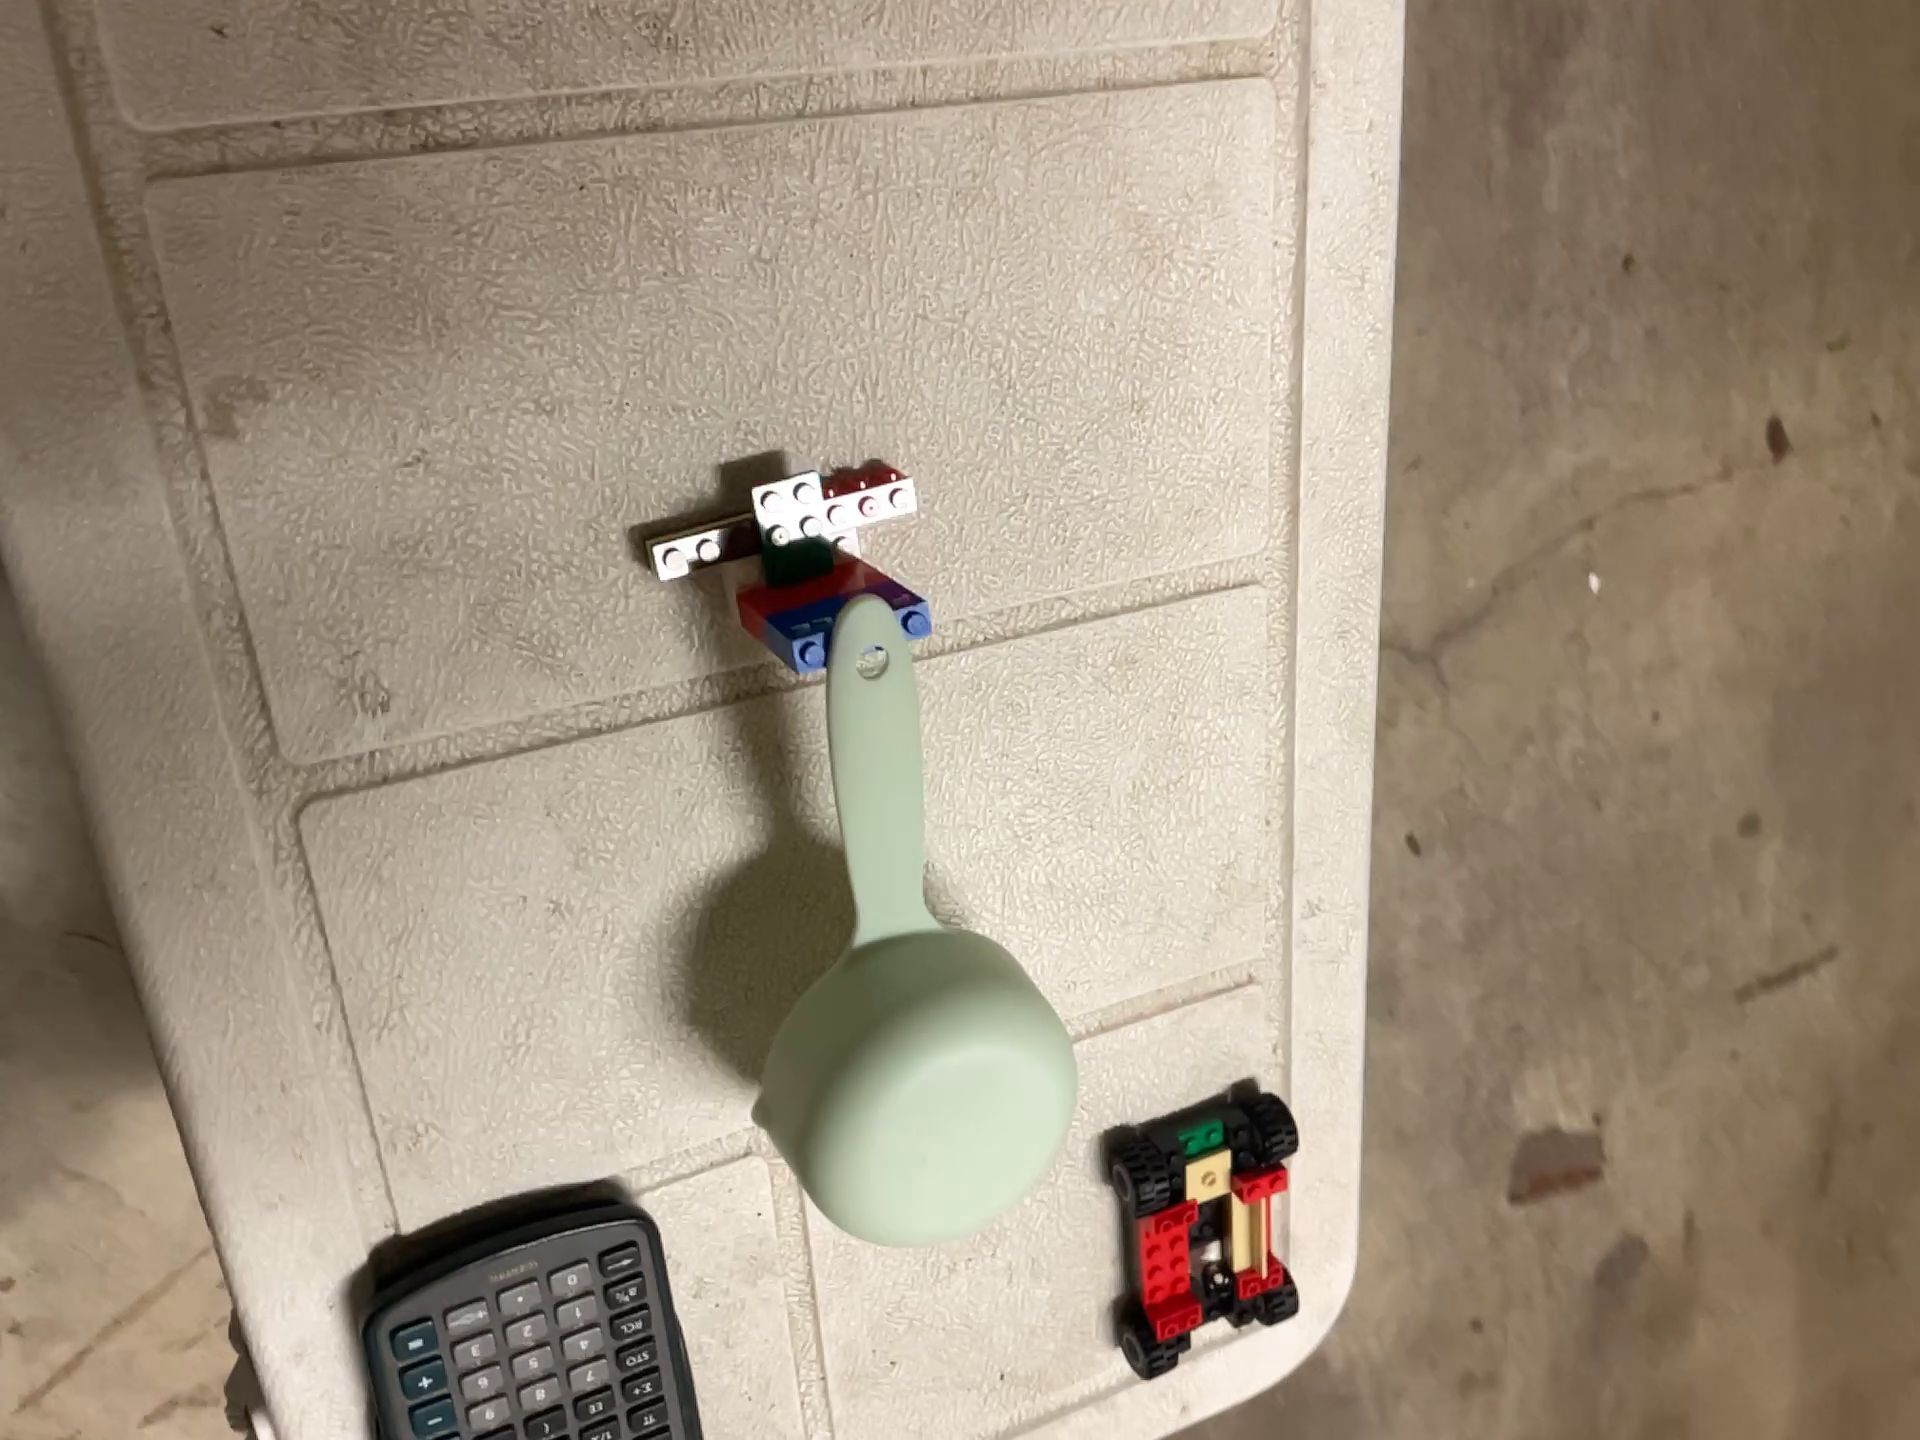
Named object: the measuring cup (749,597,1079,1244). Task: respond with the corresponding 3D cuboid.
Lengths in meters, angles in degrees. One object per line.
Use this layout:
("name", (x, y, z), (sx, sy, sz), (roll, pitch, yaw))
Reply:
("measuring cup", (-0.009, 0.053, 0.372), (0.083, 0.038, 0.167), (-16, 122, -21))
